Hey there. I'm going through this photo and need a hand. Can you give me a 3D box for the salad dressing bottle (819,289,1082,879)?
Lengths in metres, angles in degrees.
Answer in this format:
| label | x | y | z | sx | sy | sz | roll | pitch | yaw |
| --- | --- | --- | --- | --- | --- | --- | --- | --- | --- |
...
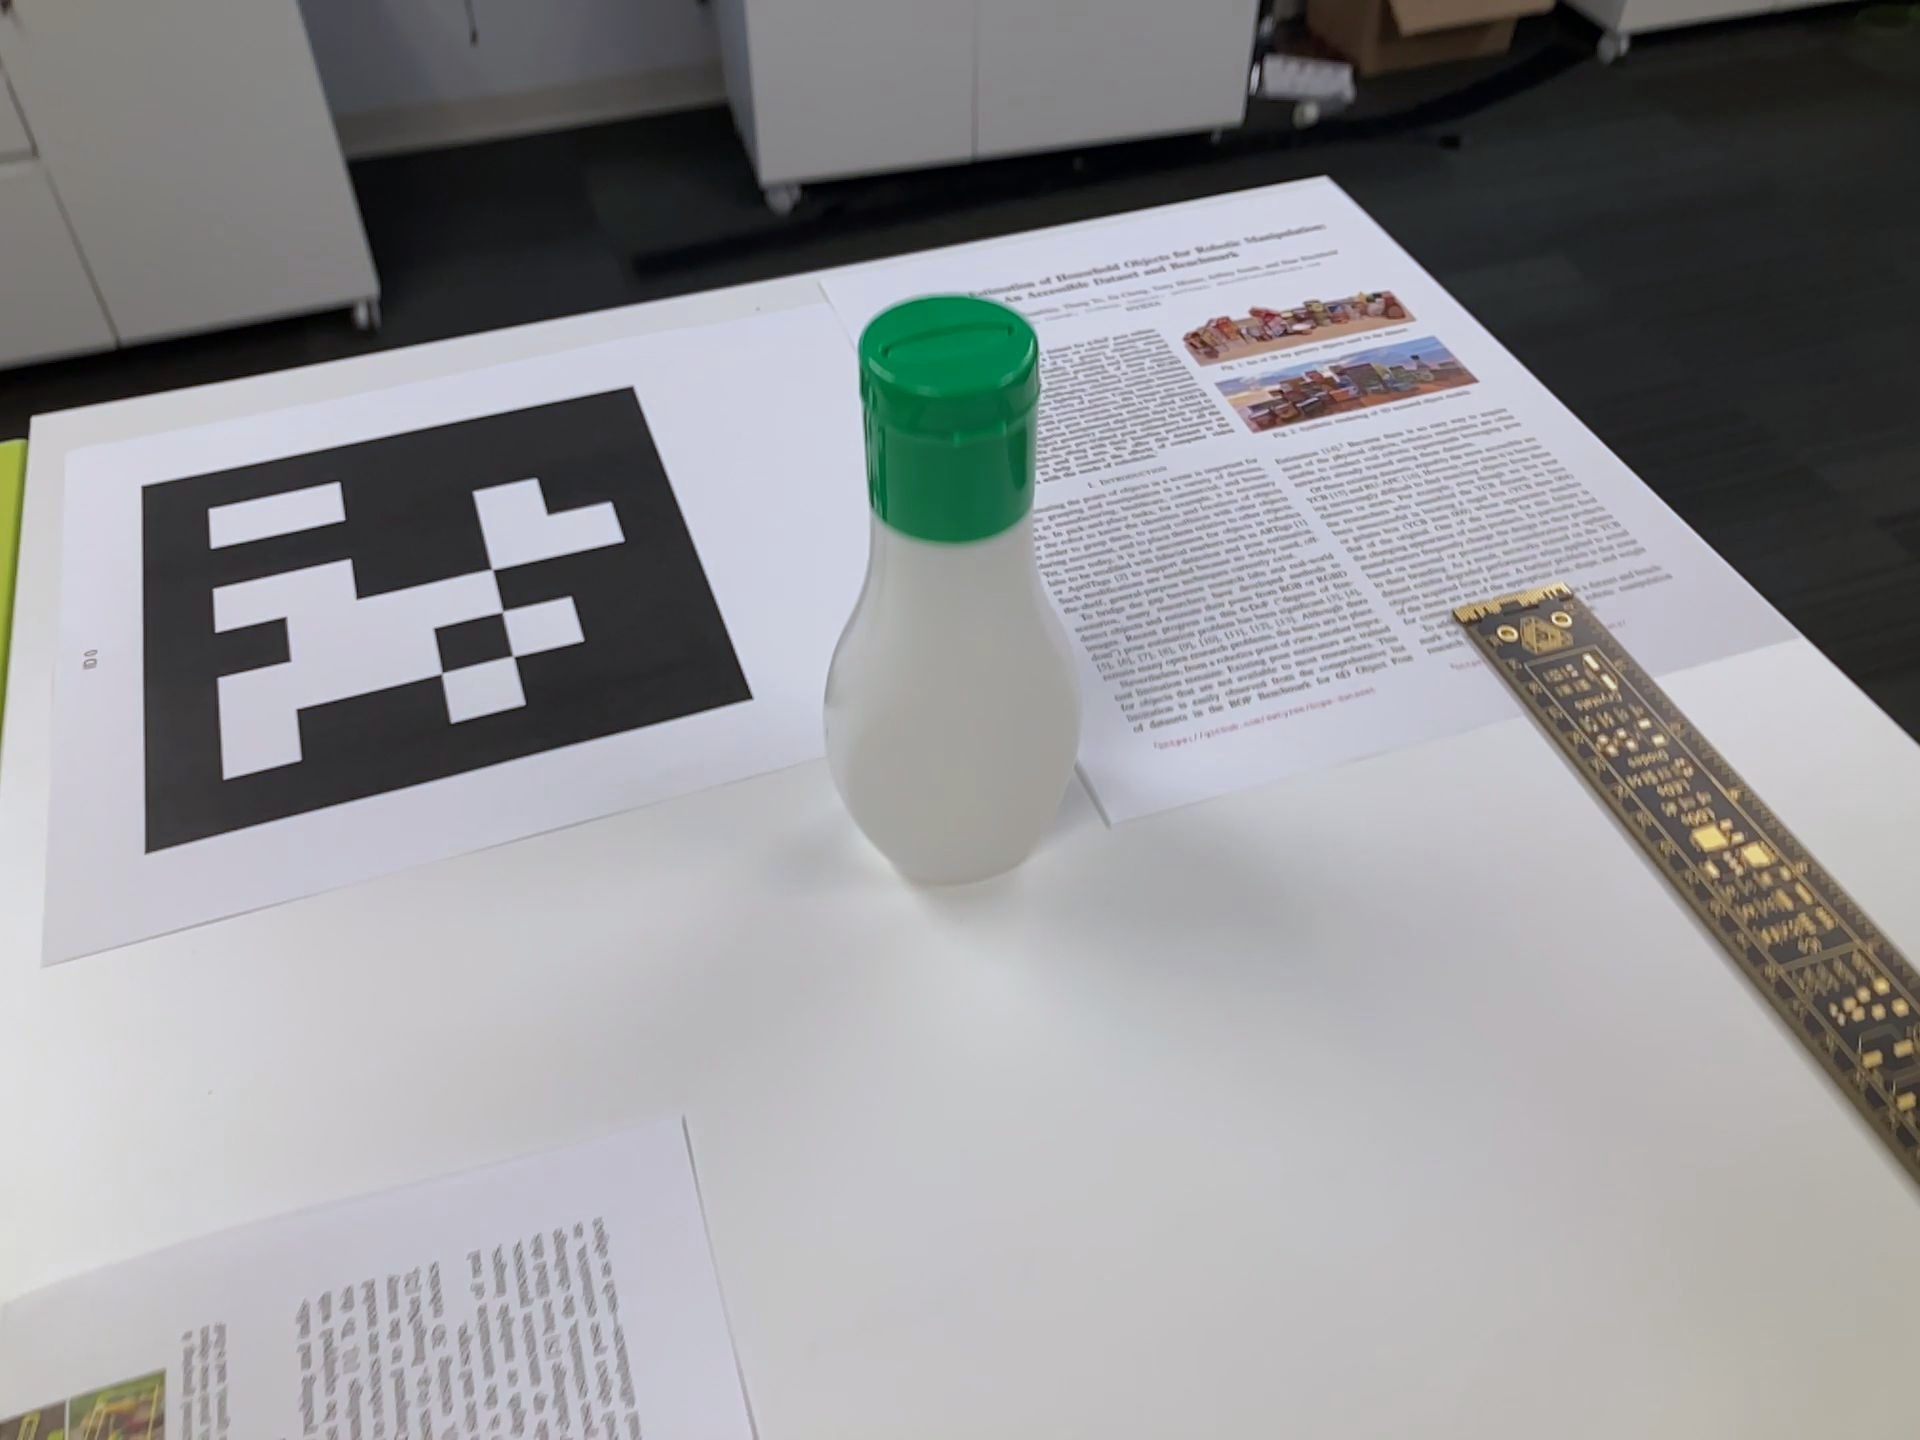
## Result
| label | x | y | z | sx | sy | sz | roll | pitch | yaw |
| --- | --- | --- | --- | --- | --- | --- | --- | --- | --- |
| salad dressing bottle | -0.002 | -0.025 | 0.364 | 0.064 | 0.147 | 0.044 | -14 | 48 | -13 |
